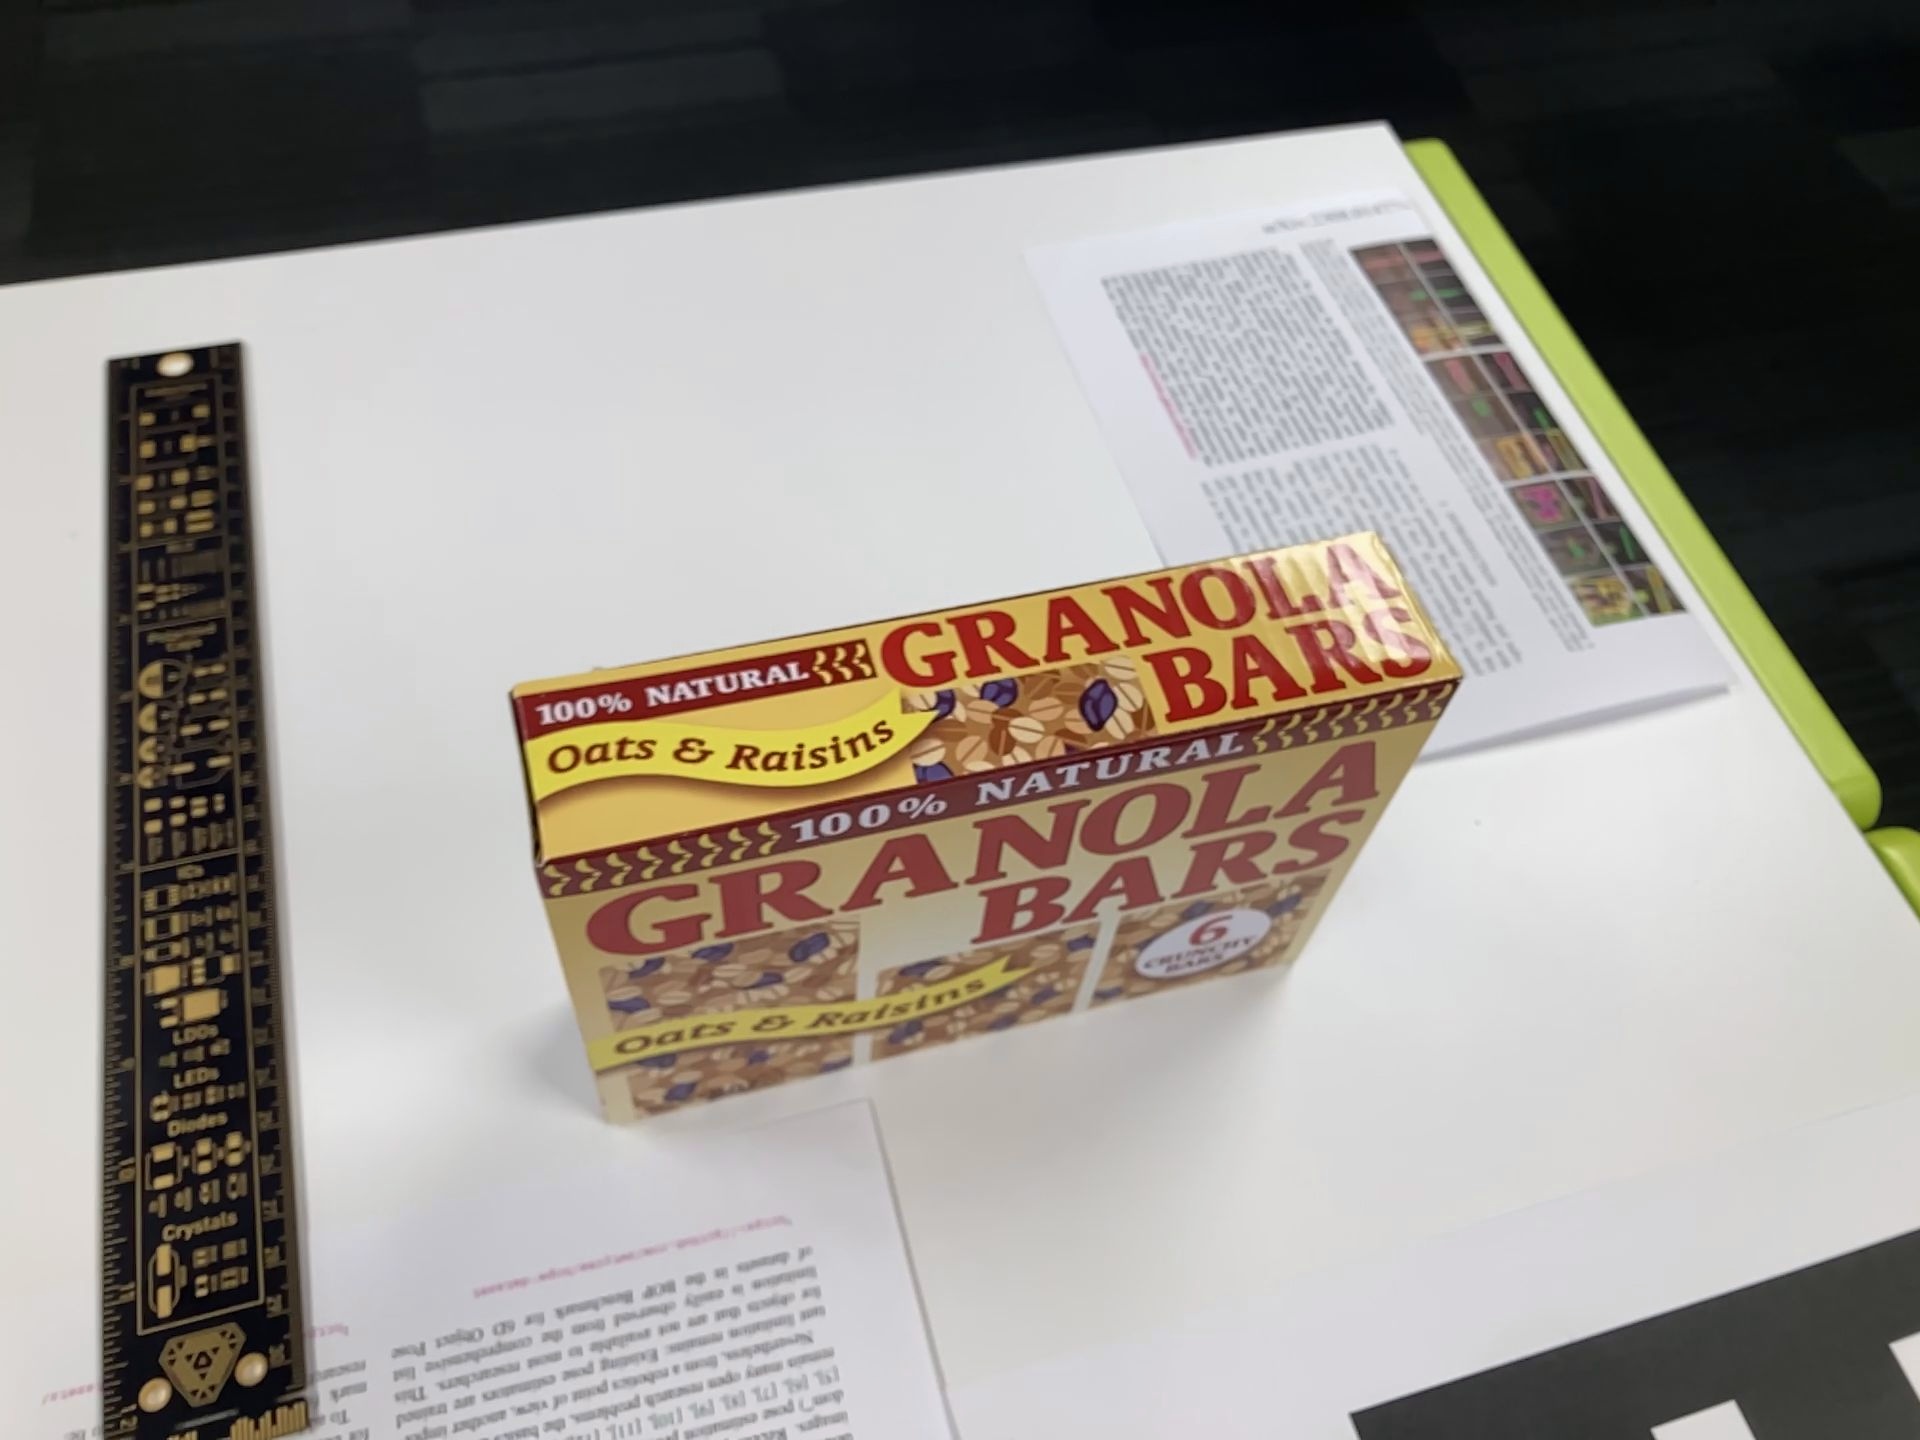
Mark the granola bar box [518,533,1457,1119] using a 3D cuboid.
[{"bbox_3d":[0.002,0.025,0.334,0.165,0.124,0.039,-11,59,-12],"label":"granola bar box"}]
